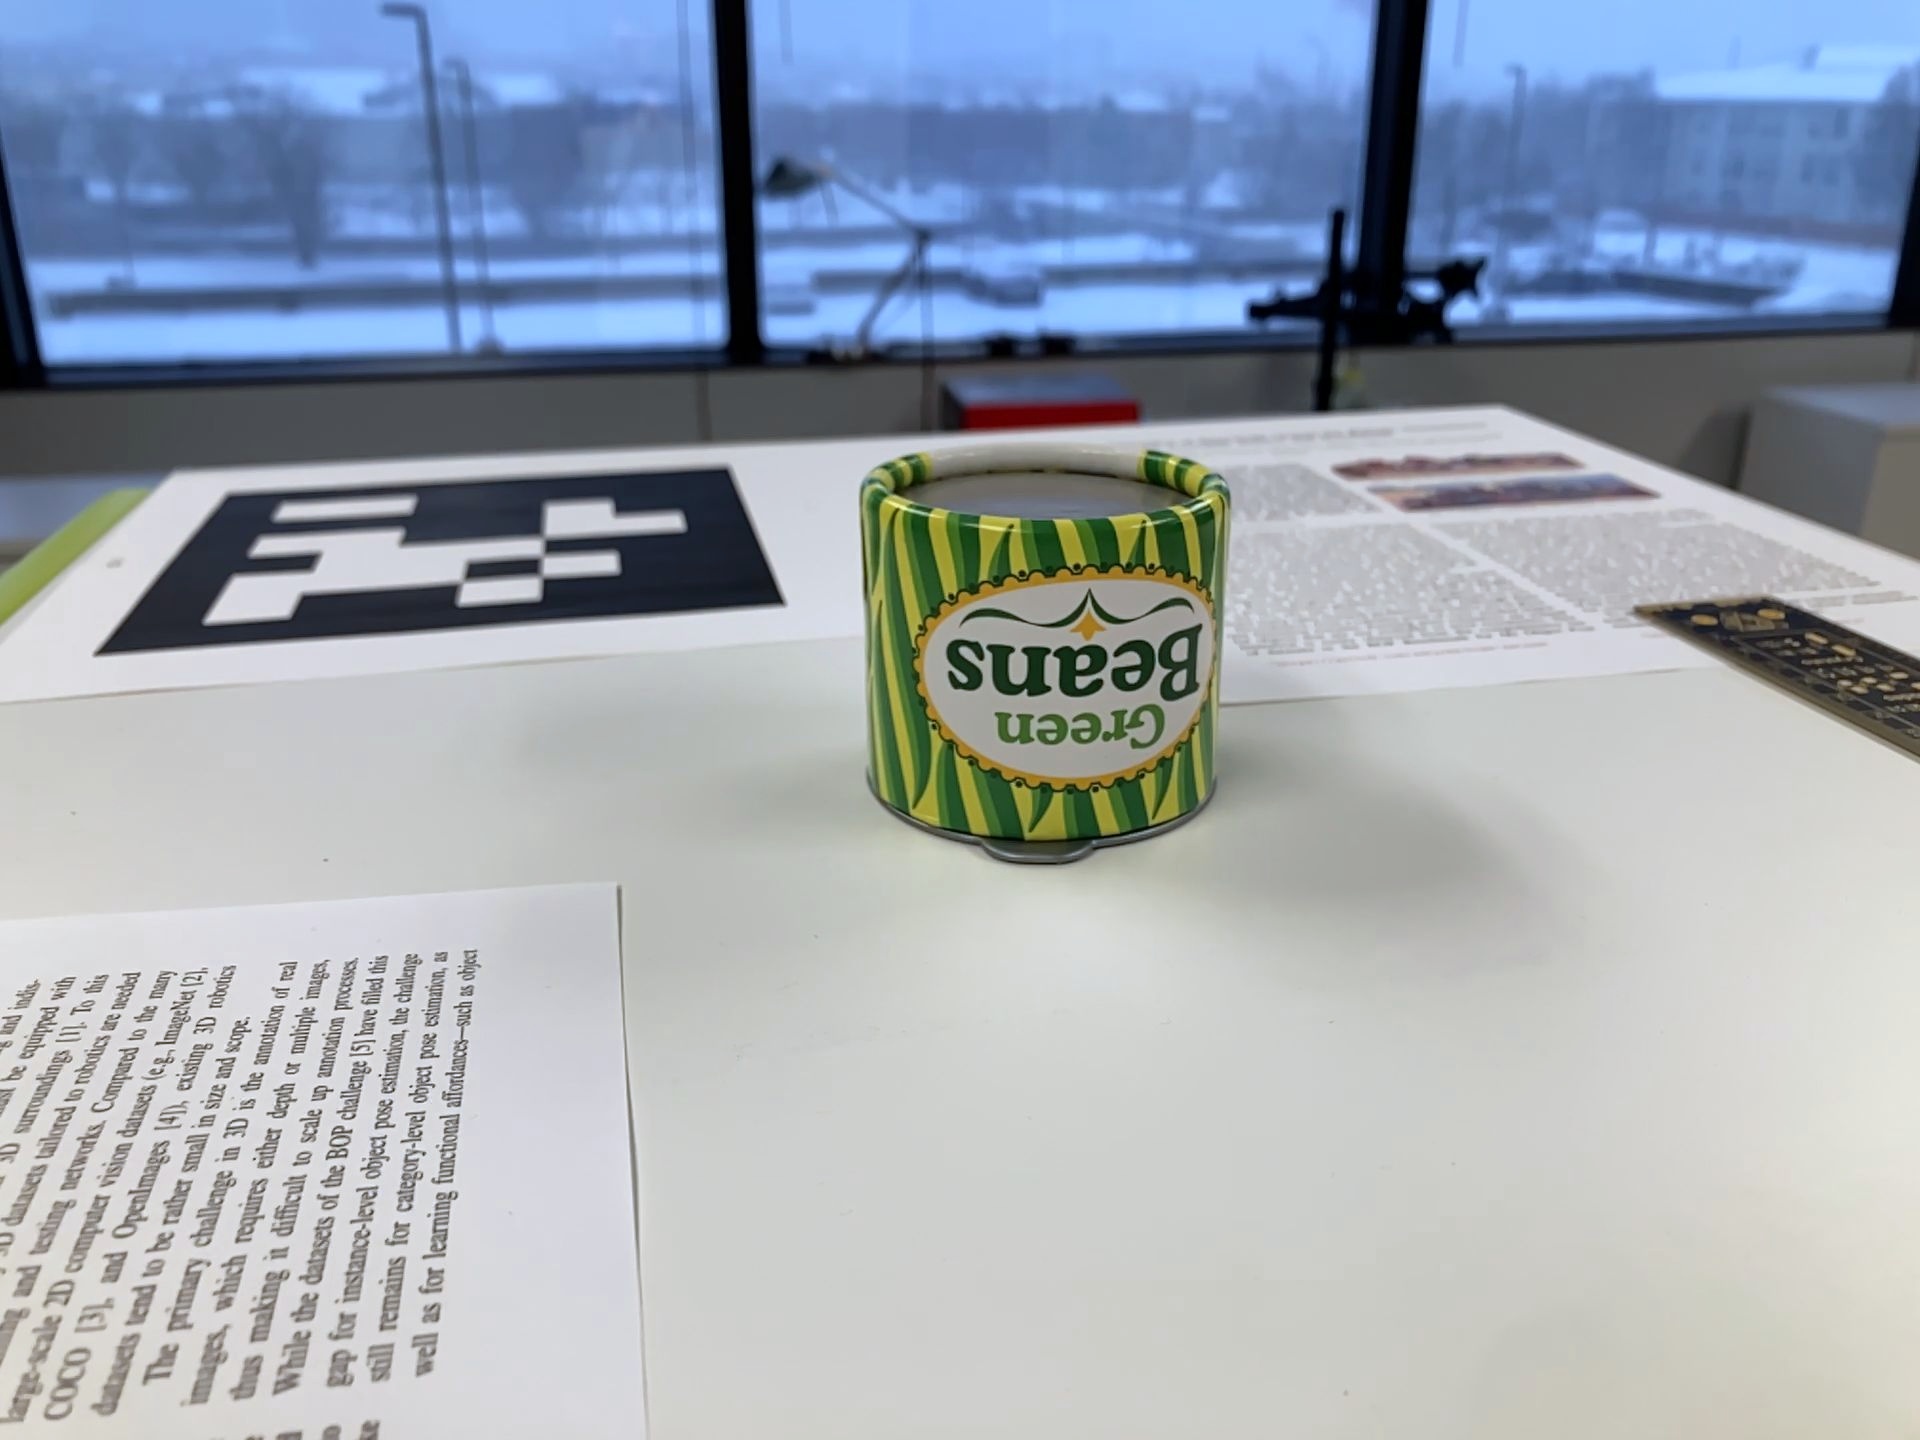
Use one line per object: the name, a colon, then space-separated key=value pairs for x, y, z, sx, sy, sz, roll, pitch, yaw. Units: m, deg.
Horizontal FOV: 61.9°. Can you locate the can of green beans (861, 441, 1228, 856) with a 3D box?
can of green beans: x=0.015 y=-0.017 z=0.296 sx=0.071 sy=0.058 sz=0.071 roll=0 pitch=21 yaw=0
